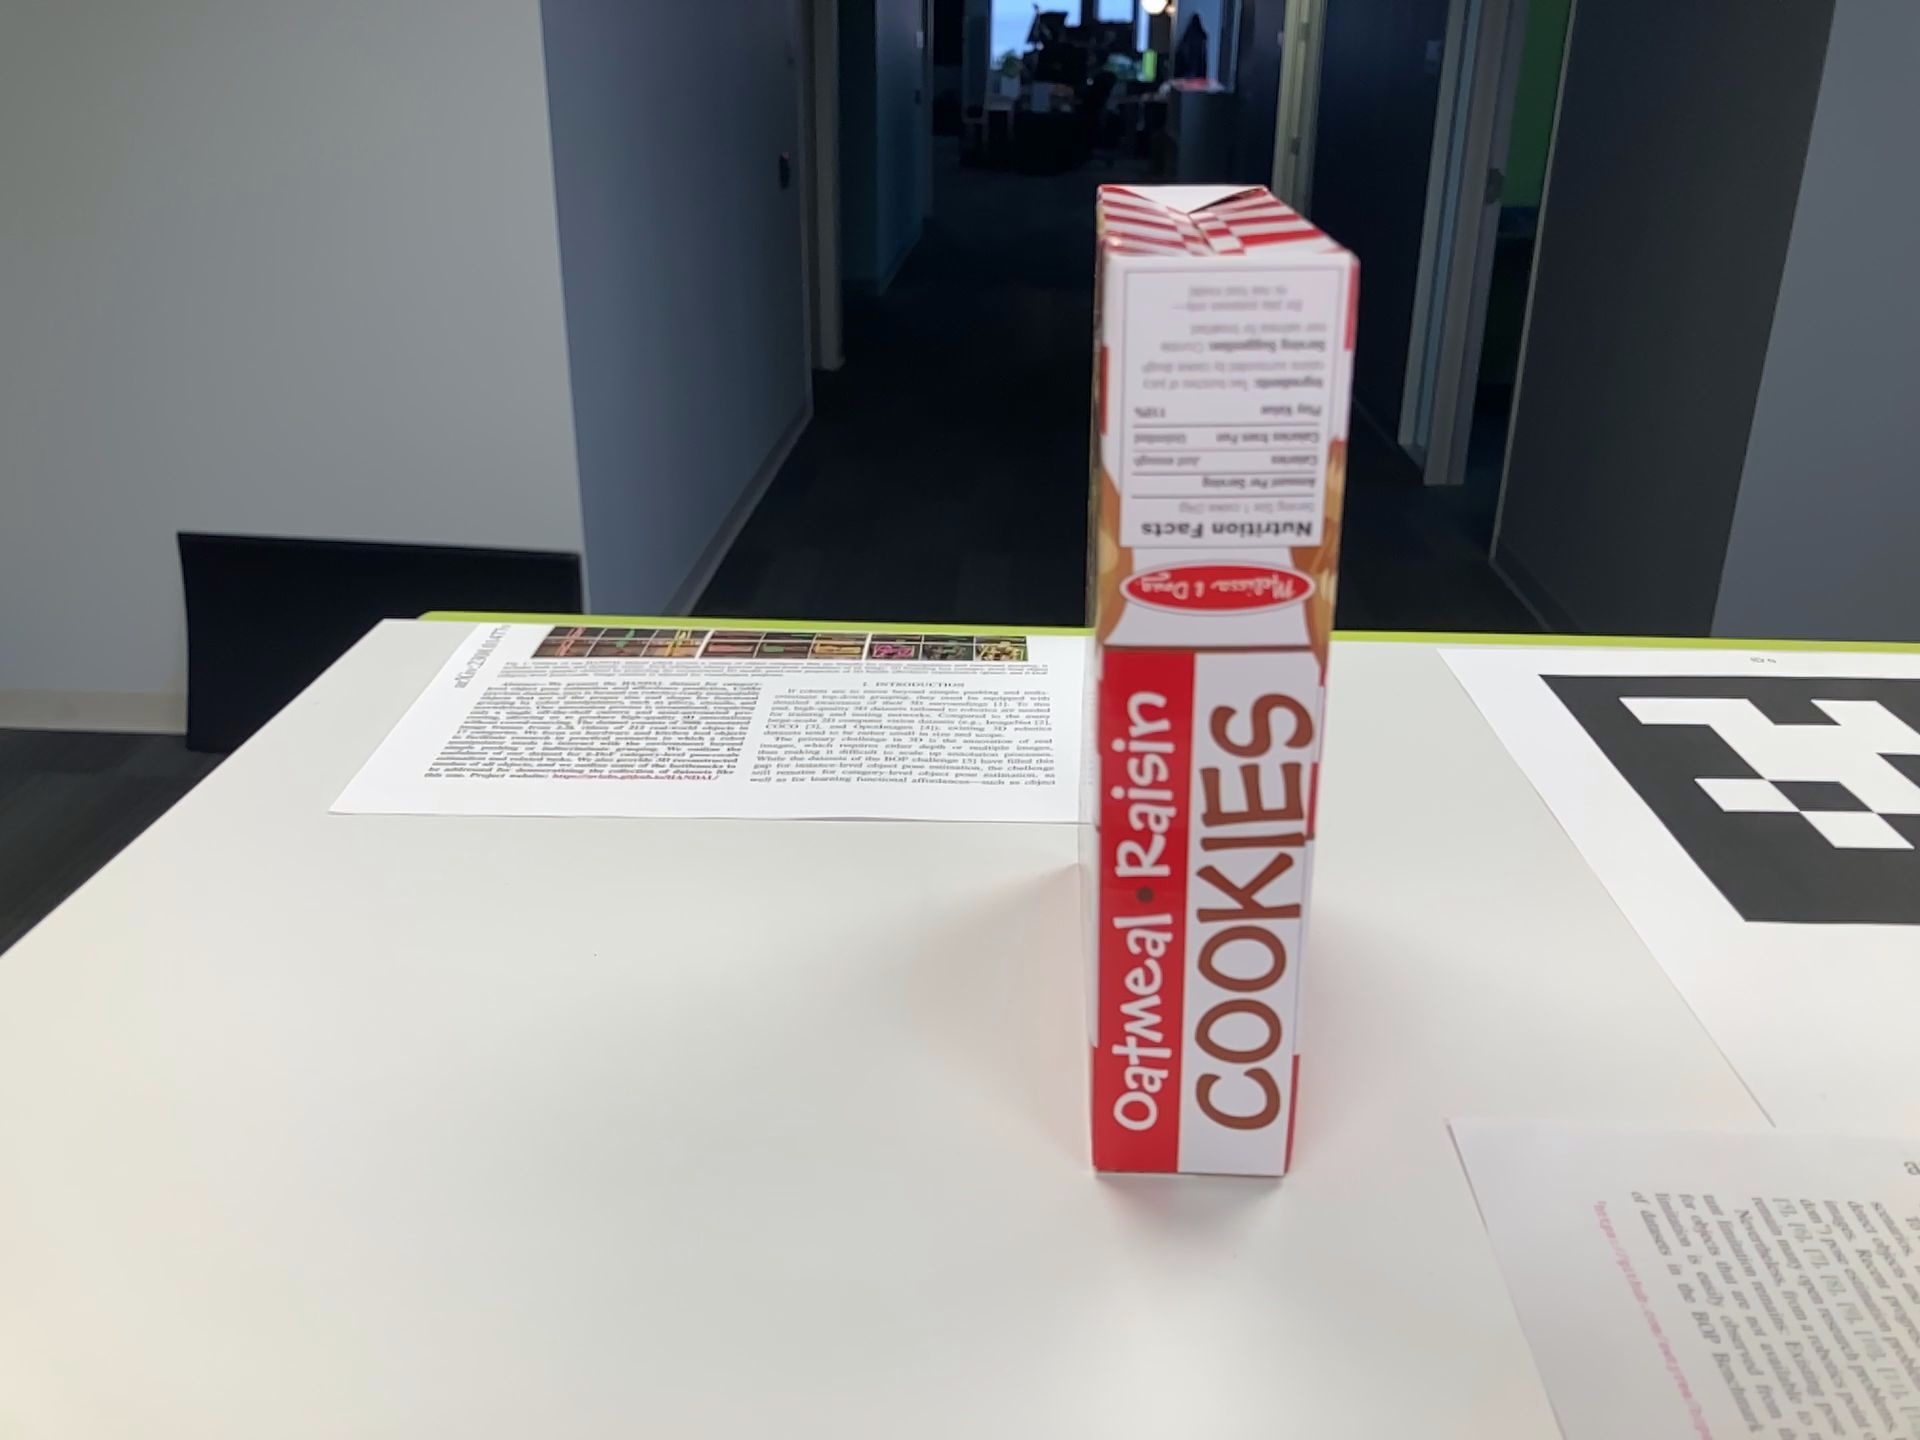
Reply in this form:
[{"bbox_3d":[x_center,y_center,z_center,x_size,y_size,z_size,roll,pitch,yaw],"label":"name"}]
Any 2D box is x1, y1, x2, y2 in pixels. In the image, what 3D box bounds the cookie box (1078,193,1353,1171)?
[{"bbox_3d":[0.046,-0.015,0.320,0.040,0.167,0.123,1,22,4],"label":"cookie box"}]
